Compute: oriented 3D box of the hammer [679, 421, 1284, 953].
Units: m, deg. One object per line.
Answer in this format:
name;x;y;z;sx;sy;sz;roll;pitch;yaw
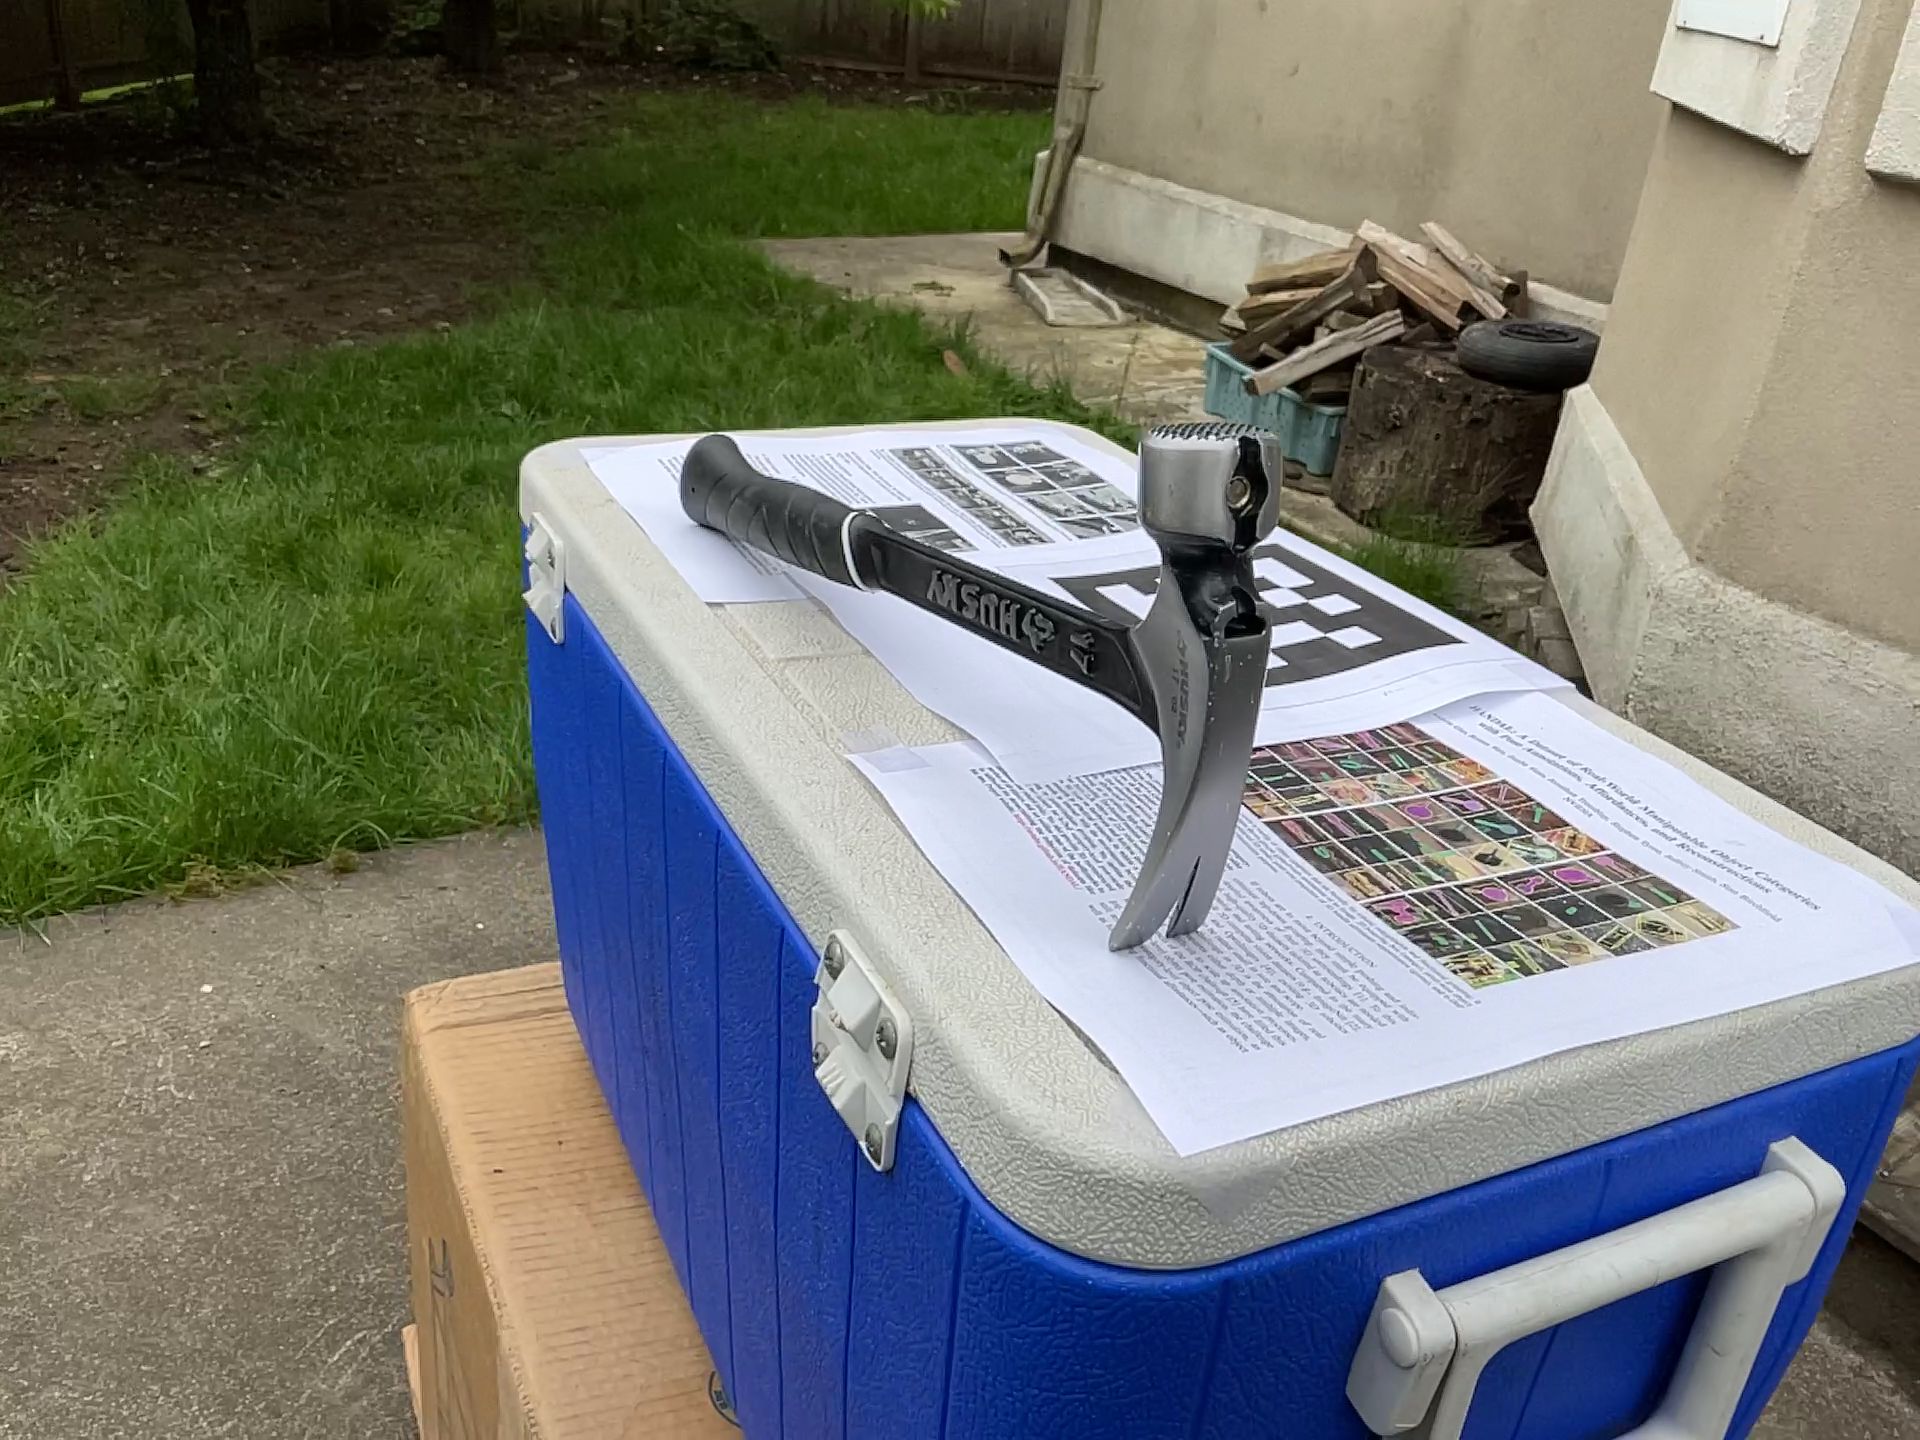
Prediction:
hammer;-0.024;-0.052;0.580;0.036;0.149;0.409;-9;19;-26
